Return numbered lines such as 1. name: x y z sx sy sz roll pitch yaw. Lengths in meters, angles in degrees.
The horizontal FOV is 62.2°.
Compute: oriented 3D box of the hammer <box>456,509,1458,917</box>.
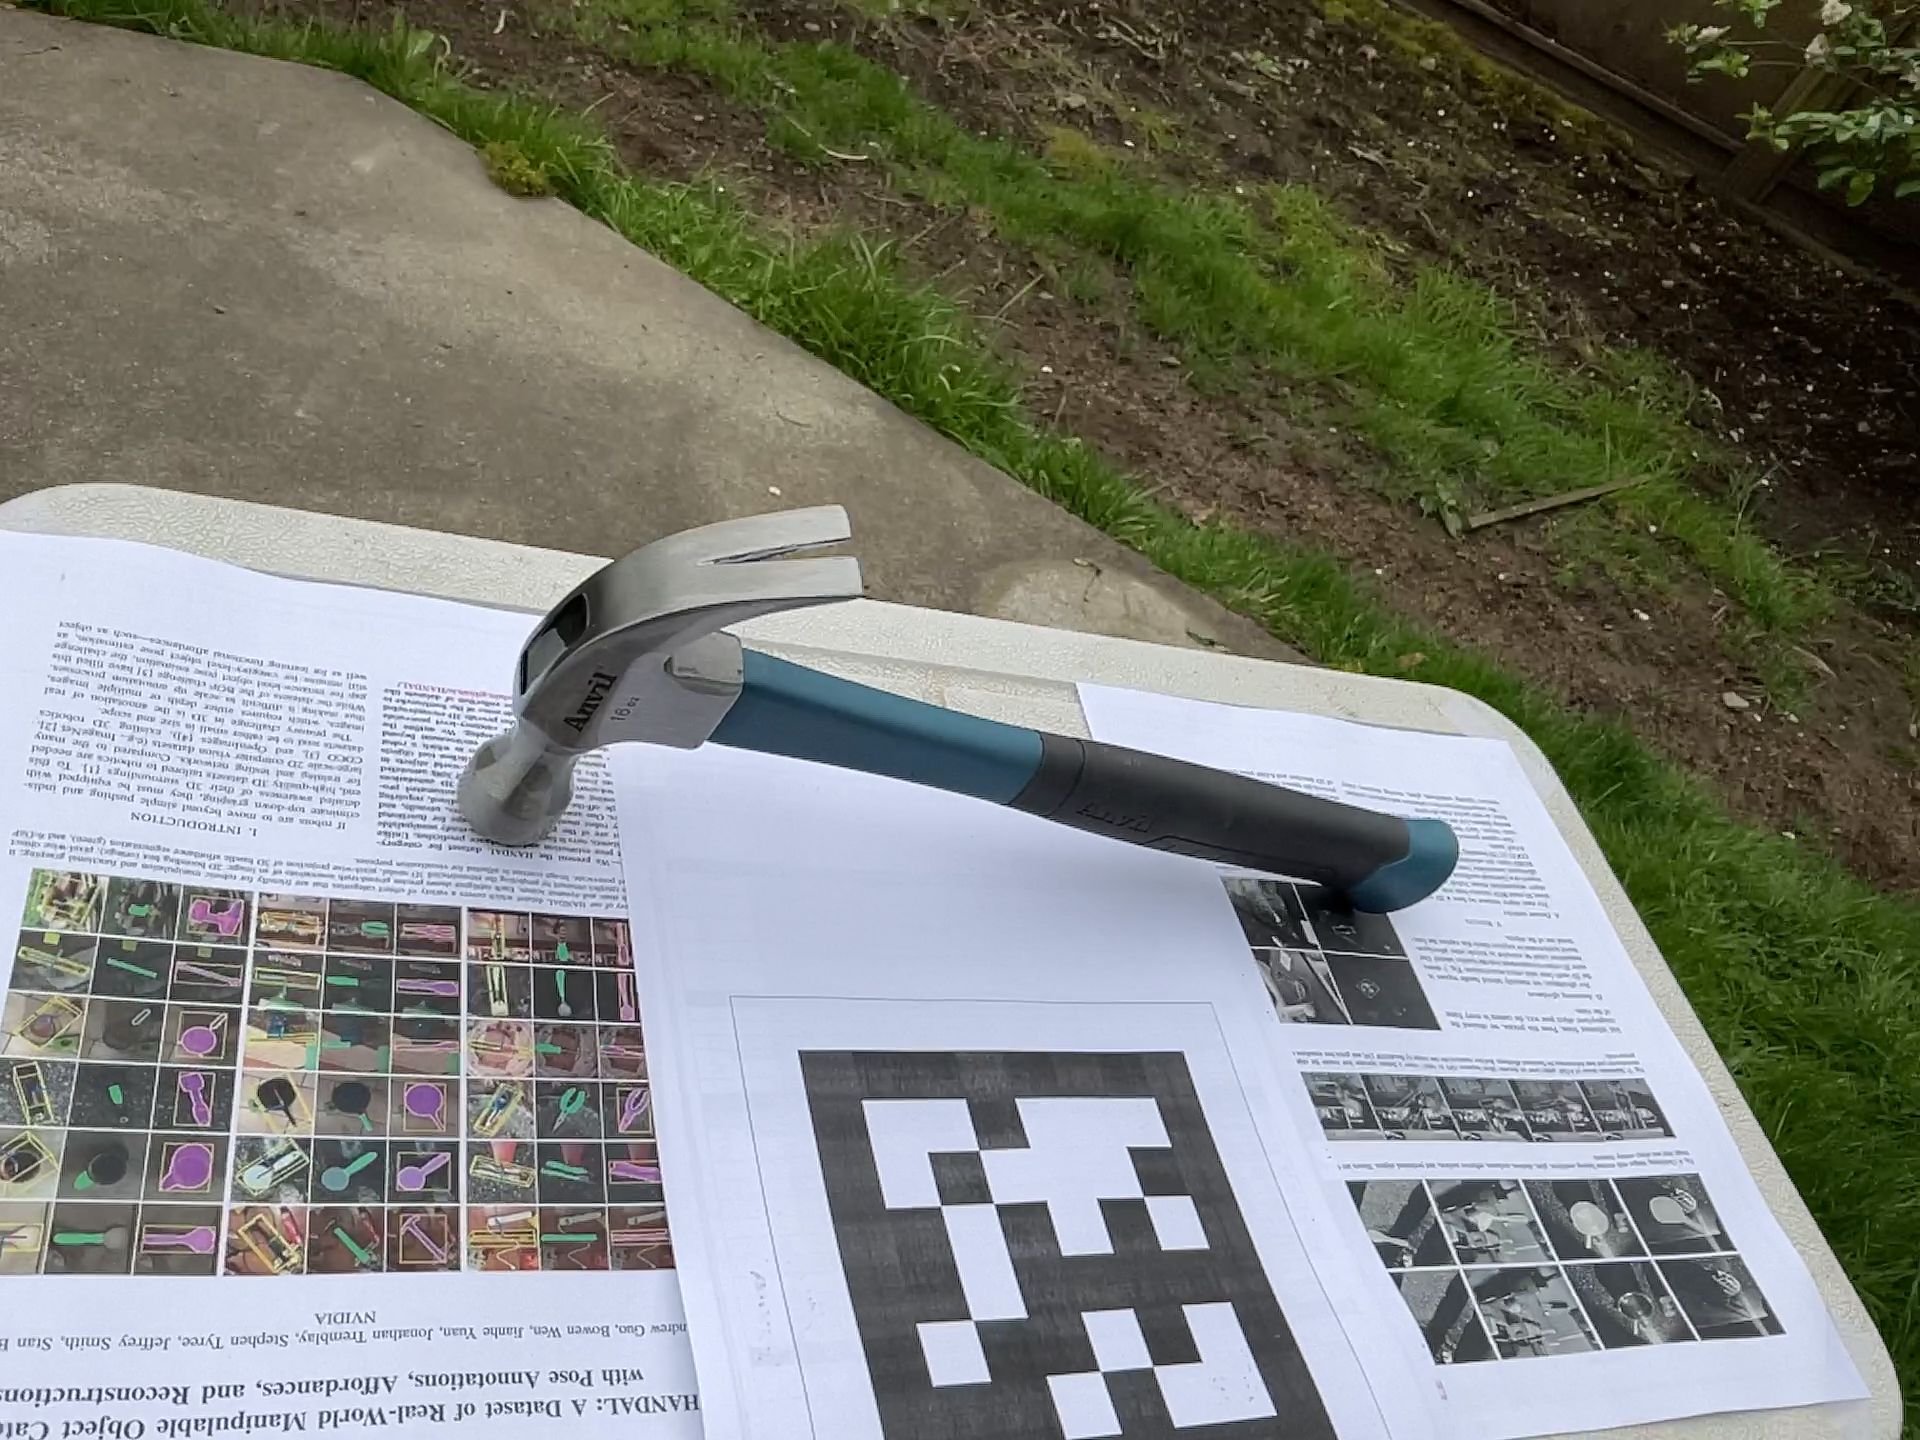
1. hammer: 0.028 0.019 0.494 0.331 0.128 0.033 14 44 -31
